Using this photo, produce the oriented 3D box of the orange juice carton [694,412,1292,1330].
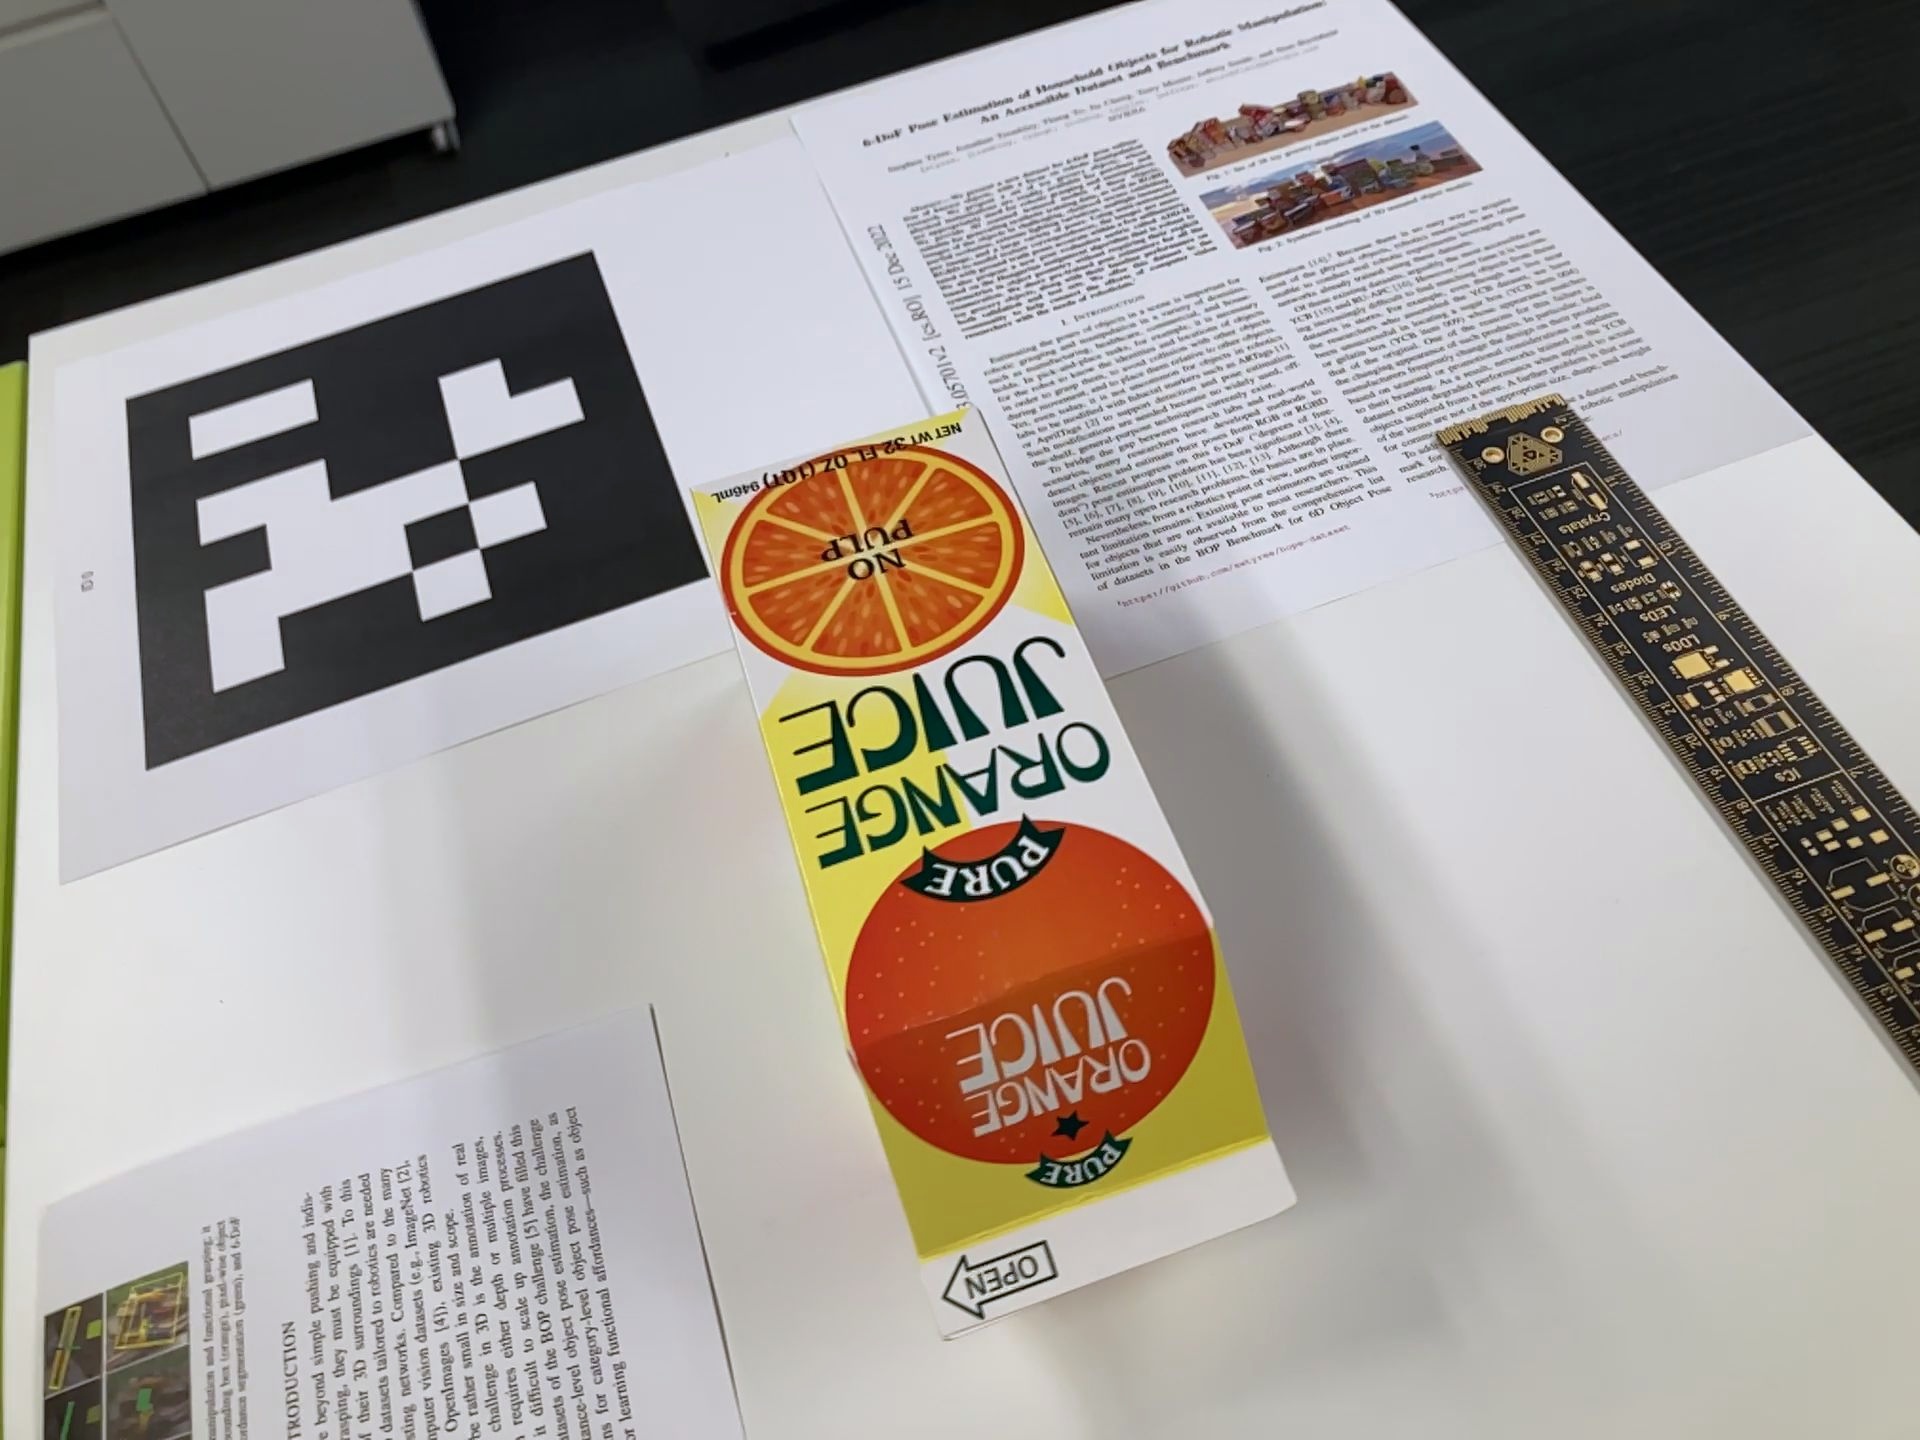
[{"bbox_3d":[0.001,0.028,0.348,0.072,0.073,0.192,-17,54,-5],"label":"orange juice carton"}]
